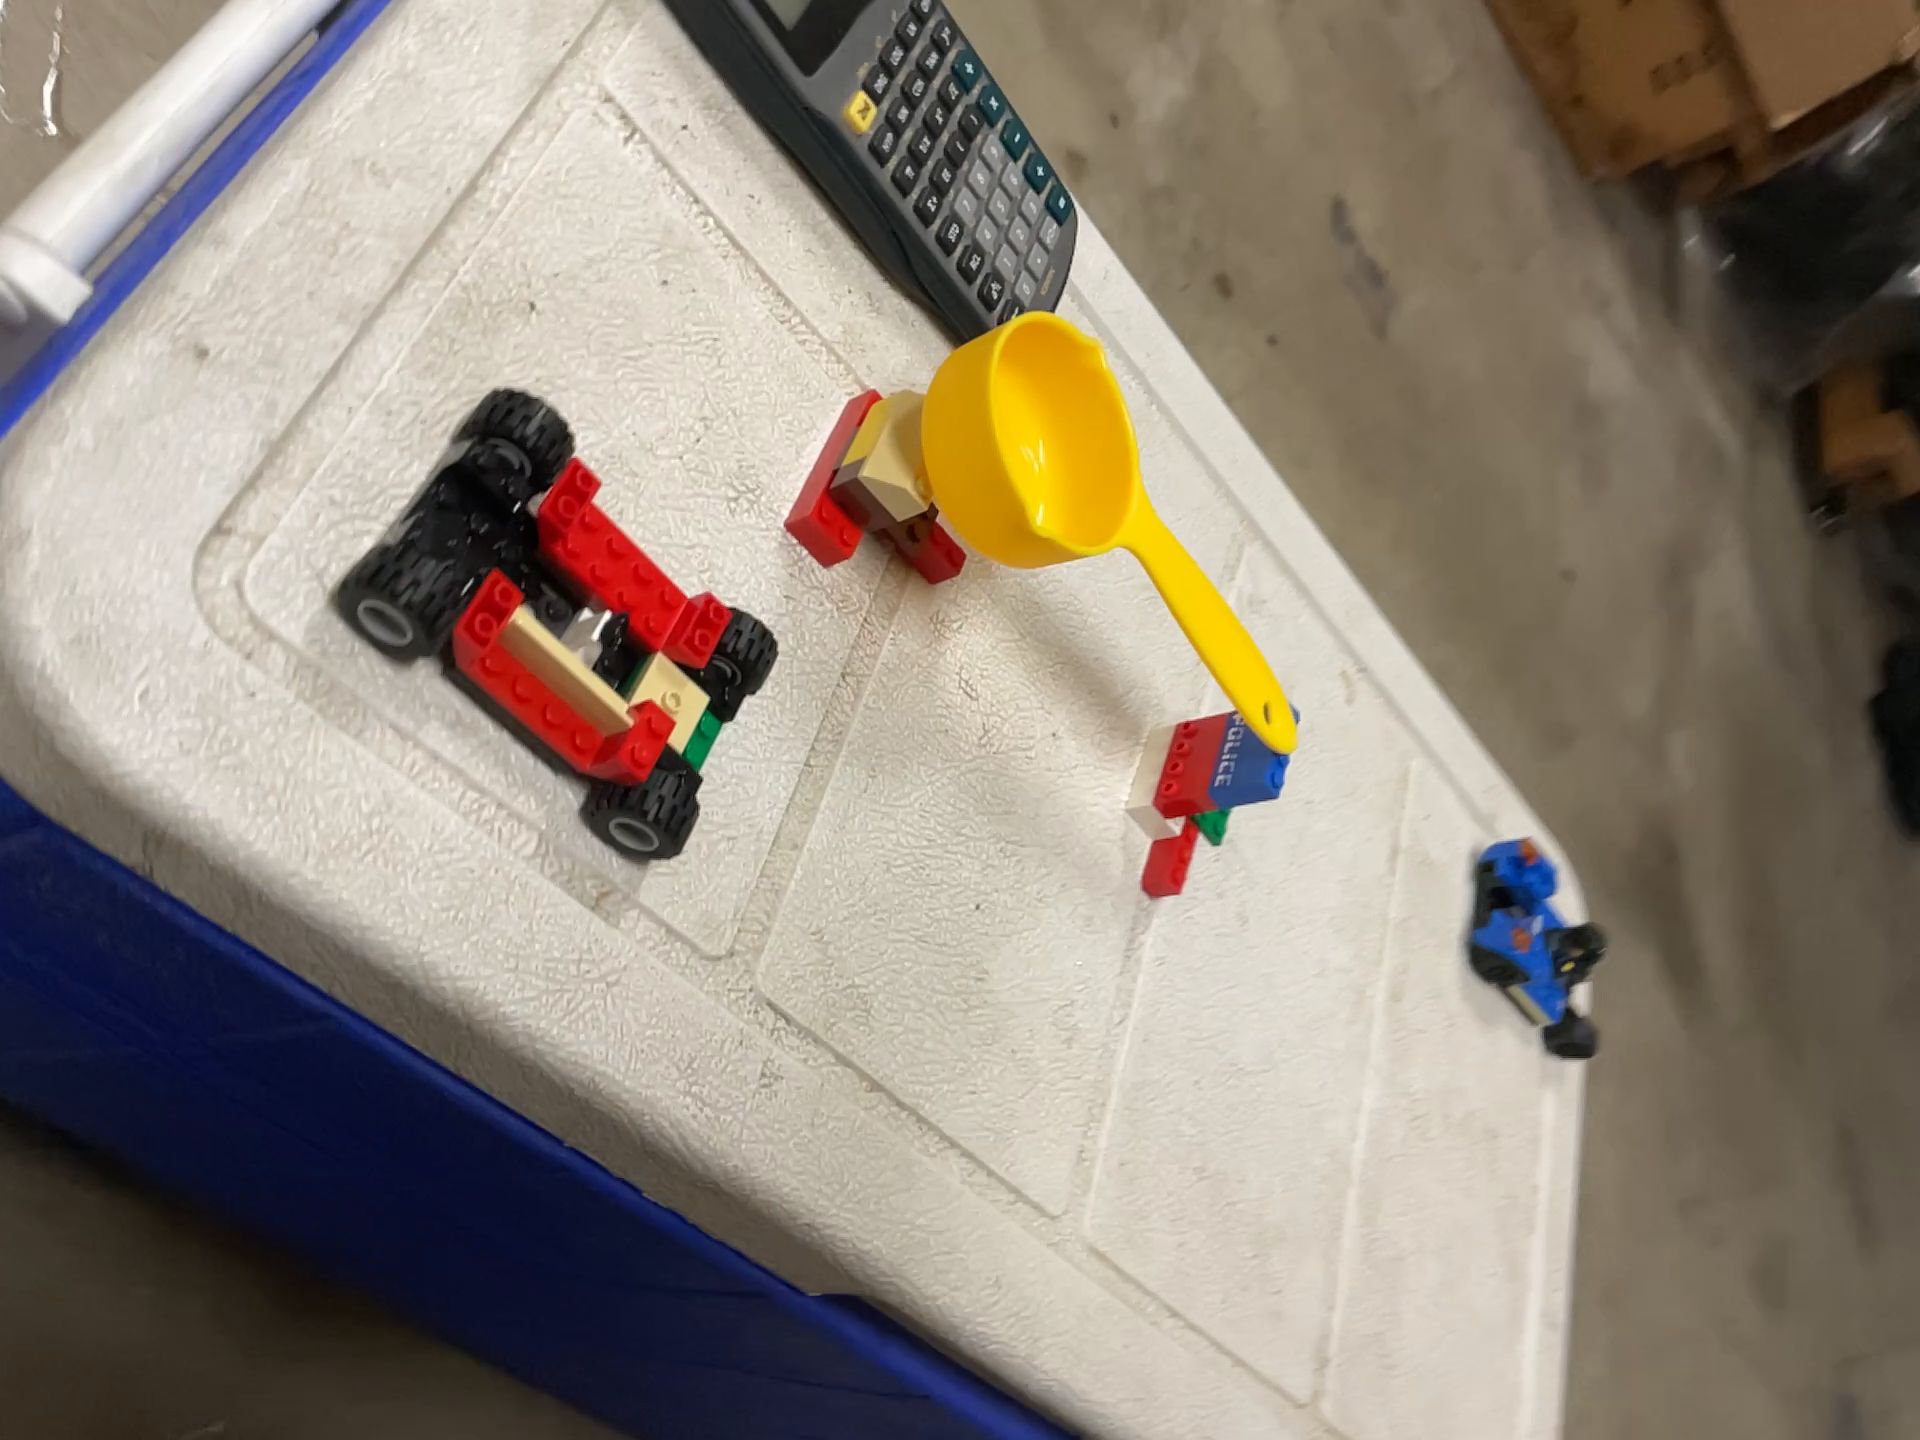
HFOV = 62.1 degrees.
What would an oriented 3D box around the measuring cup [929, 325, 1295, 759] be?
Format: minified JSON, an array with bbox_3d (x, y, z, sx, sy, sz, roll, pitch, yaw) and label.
[{"bbox_3d":[0.044,-0.036,0.423,0.156,0.029,0.062,47,47,-35],"label":"measuring cup"}]
